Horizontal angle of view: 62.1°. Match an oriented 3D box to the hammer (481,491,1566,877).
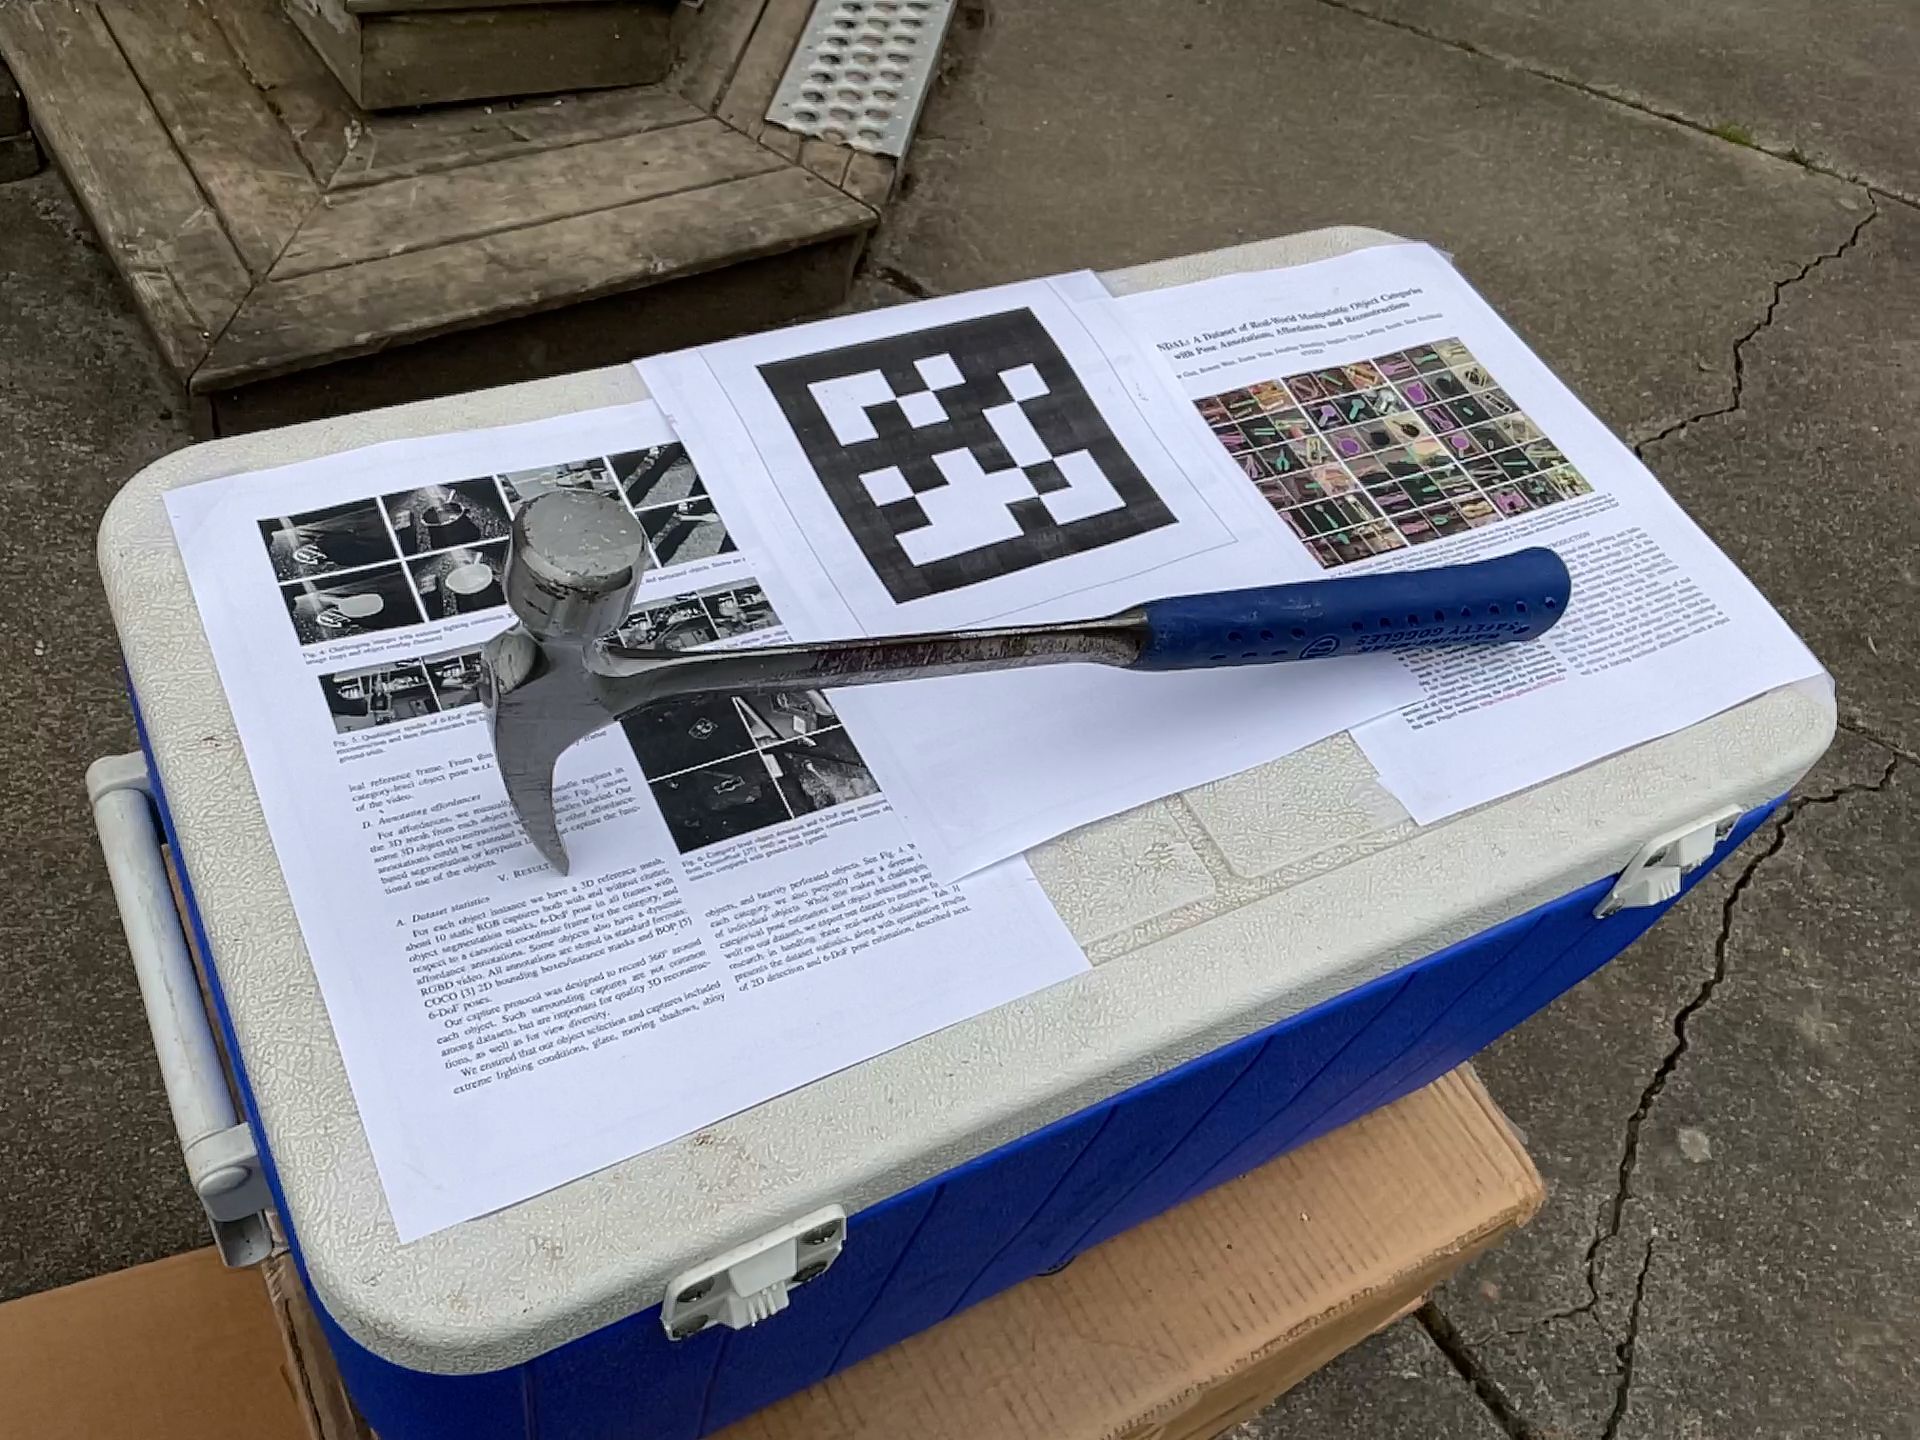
[{"bbox_3d":[0.044,-0.024,0.537,0.405,0.144,0.035,-7,57,-29],"label":"hammer"}]
